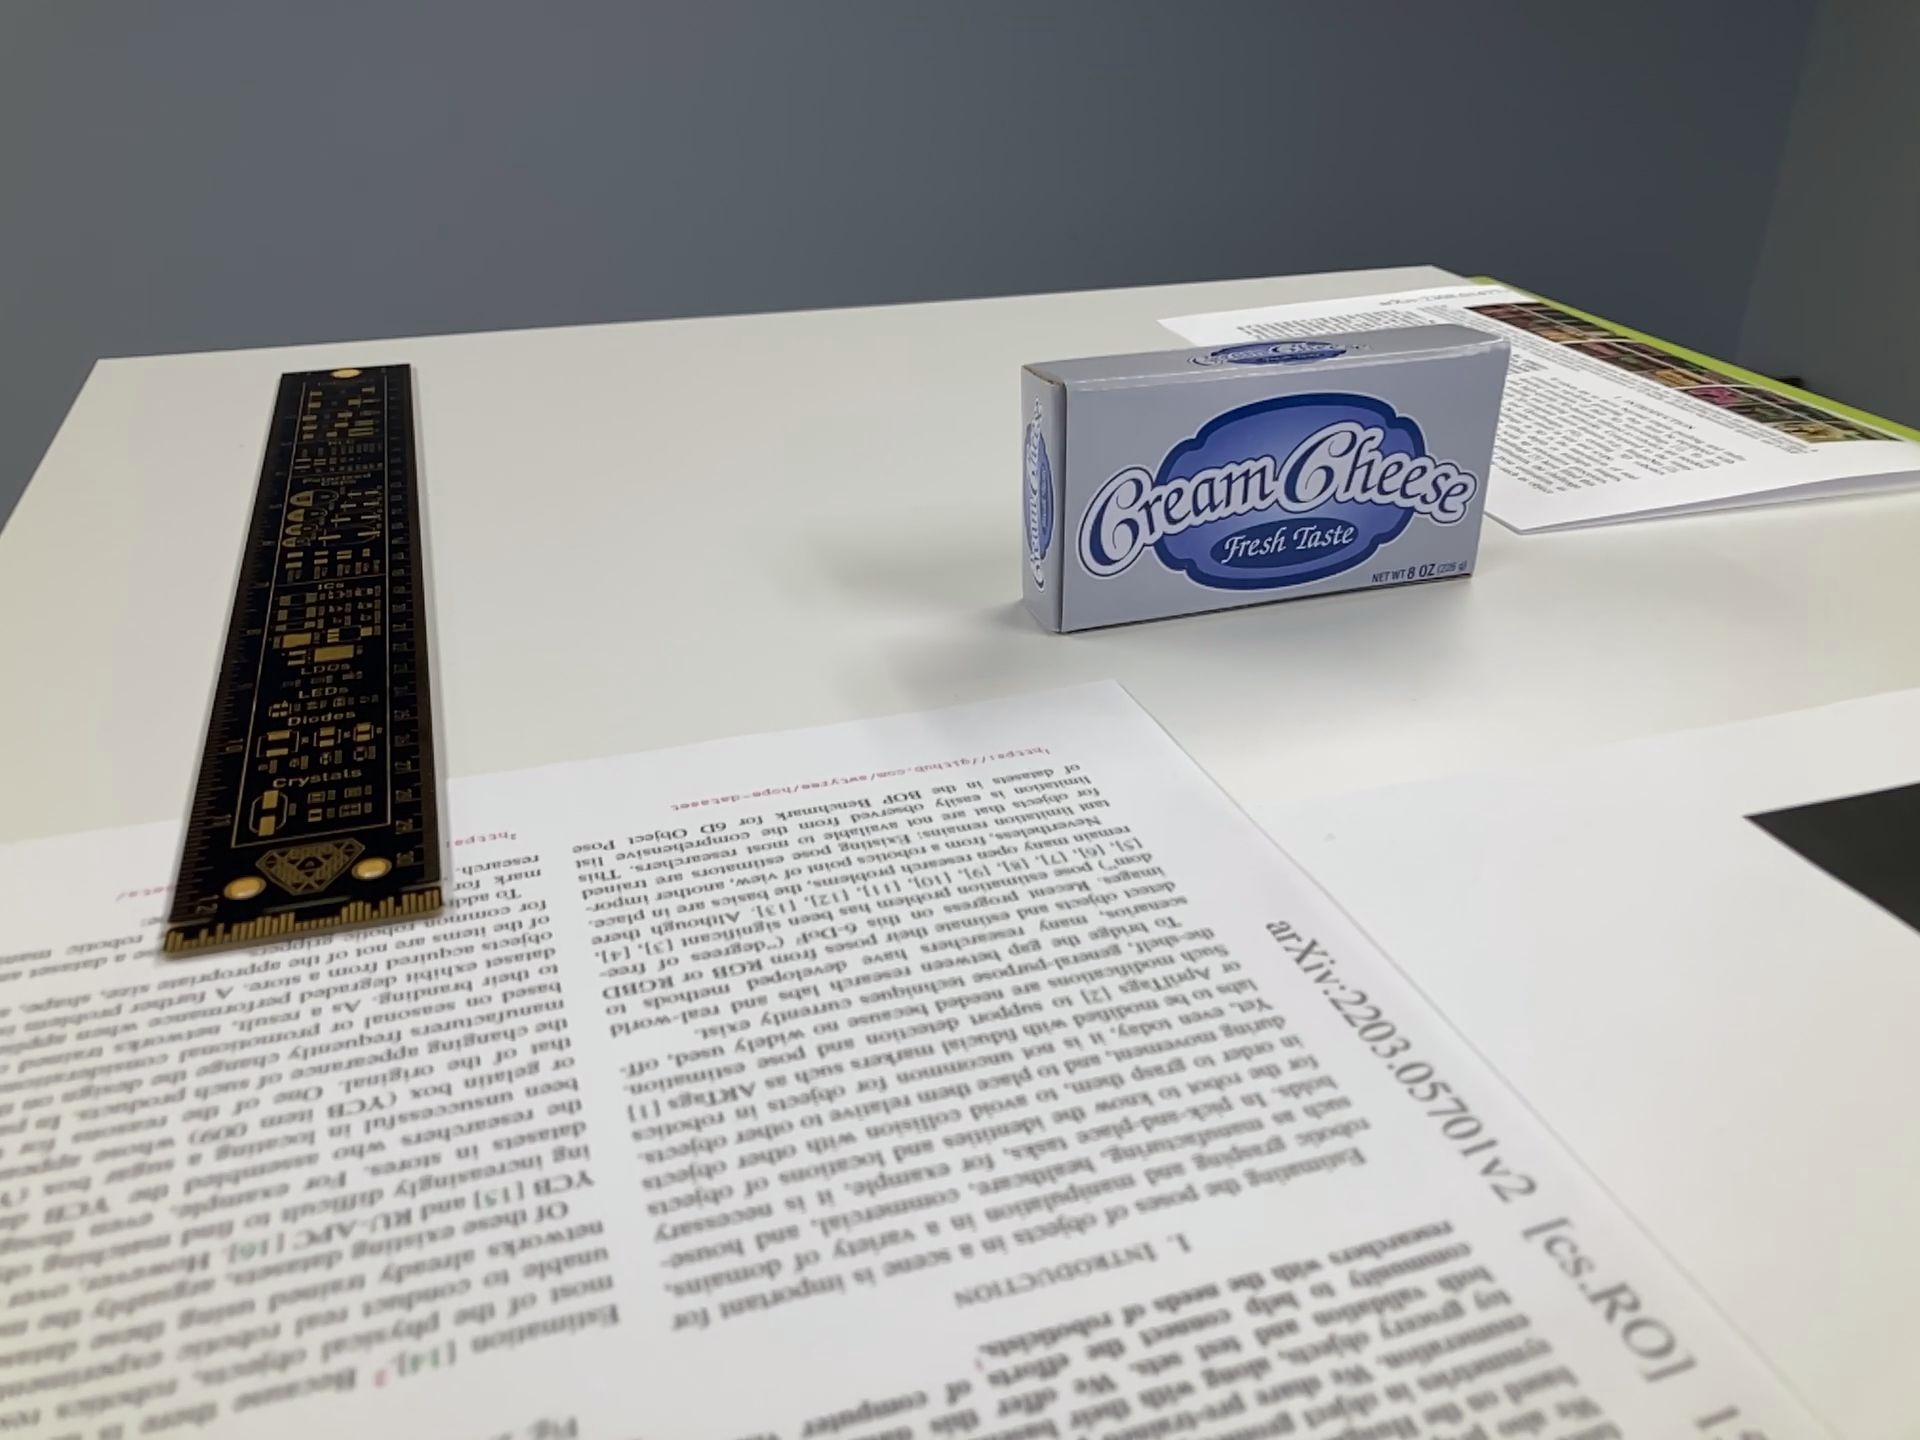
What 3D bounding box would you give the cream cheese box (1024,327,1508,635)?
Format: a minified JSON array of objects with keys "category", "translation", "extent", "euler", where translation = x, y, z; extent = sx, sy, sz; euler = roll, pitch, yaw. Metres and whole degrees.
[{"category":"cream cheese box","translation":[0.065,-0.052,0.341],"extent":[0.104,0.053,0.024],"euler":[-9,27,-17]}]
